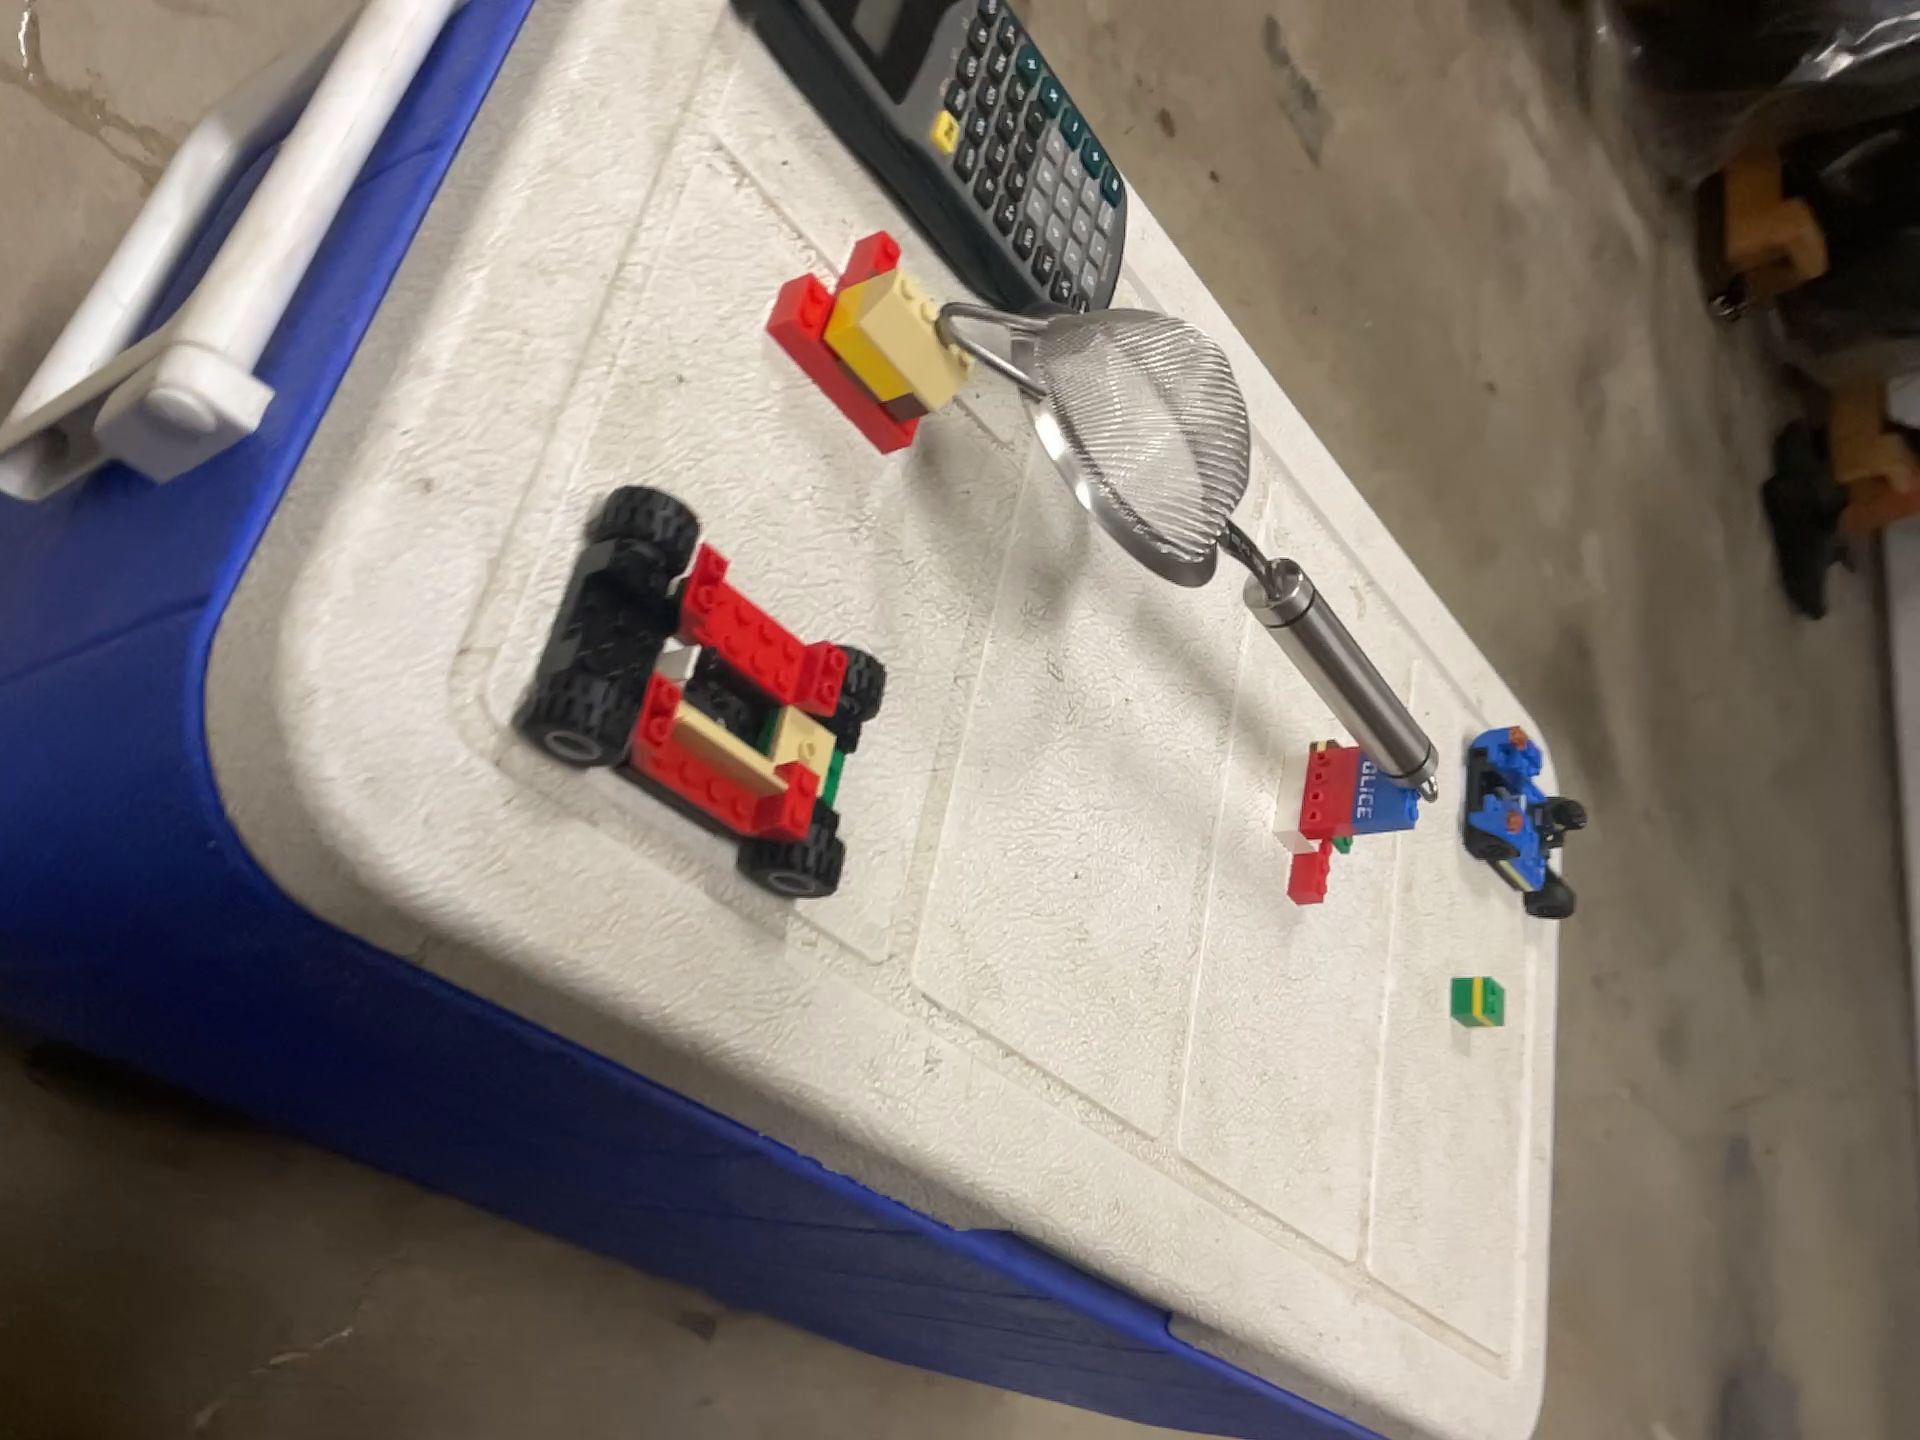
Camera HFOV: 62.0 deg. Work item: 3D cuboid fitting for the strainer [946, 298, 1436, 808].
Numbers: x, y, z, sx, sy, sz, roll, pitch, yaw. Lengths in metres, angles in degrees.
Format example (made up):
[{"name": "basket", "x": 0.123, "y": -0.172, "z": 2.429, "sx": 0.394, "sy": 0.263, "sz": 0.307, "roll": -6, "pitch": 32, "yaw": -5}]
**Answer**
[{"name": "strainer", "x": 0.089, "y": -0.042, "z": 0.460, "sx": 0.258, "sy": 0.050, "sz": 0.087, "roll": 42, "pitch": 34, "yaw": -41}]
